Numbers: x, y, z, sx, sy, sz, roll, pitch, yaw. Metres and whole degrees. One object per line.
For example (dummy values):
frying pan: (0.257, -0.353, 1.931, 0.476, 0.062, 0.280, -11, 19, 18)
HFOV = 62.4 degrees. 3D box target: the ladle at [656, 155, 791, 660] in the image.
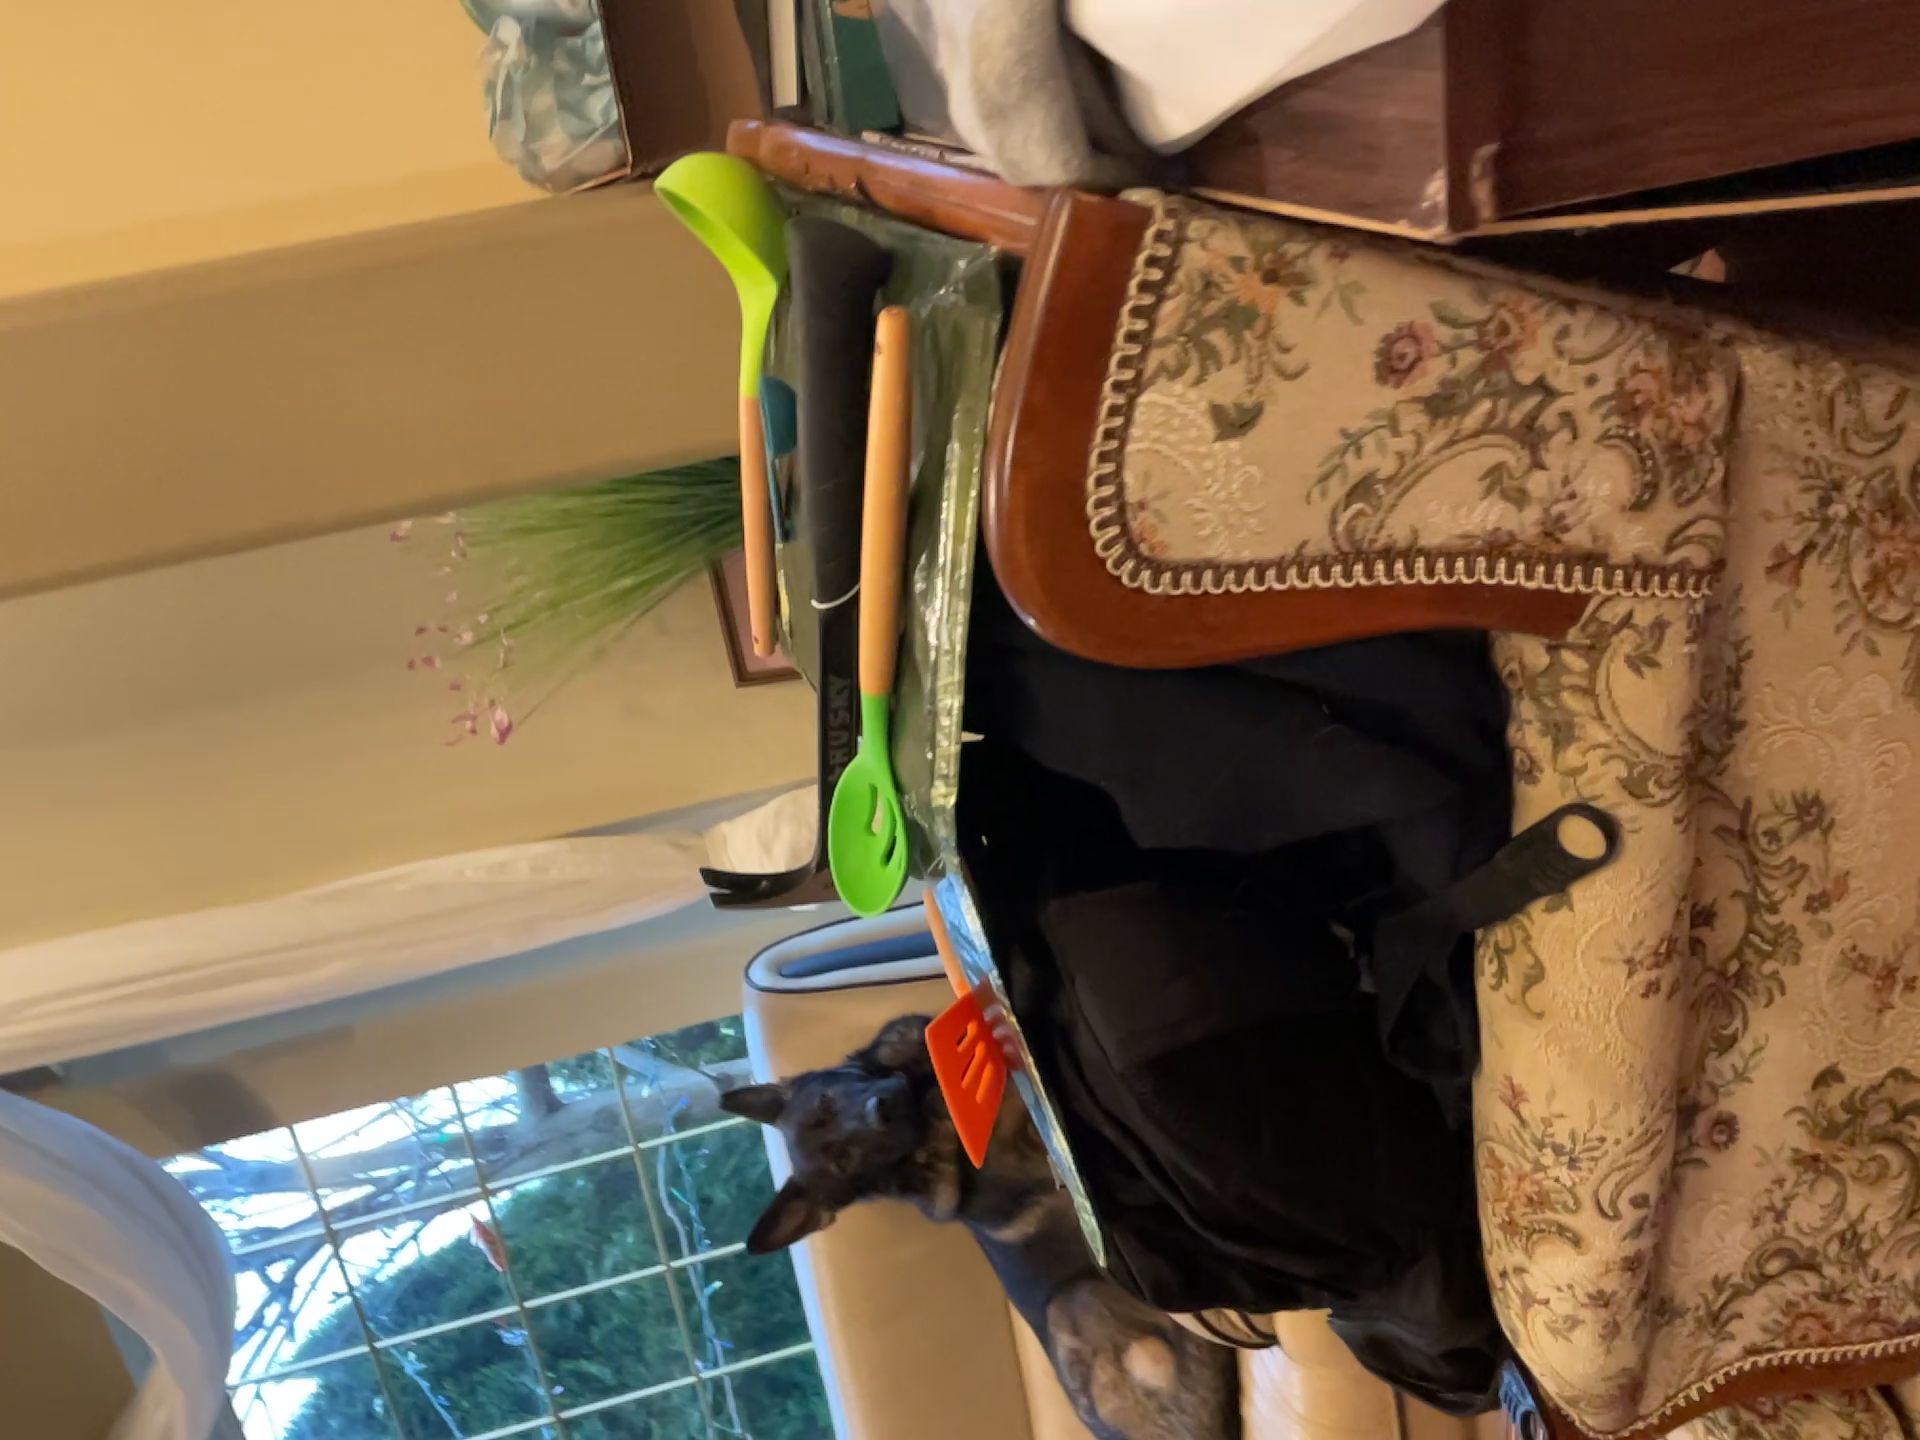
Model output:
ladle: (-0.122, -0.155, 0.879, 0.078, 0.062, 0.320, 40, 143, 33)

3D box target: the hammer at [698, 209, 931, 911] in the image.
hammer: (-0.064, -0.053, 0.783, 0.036, 0.149, 0.408, -123, 27, -43)

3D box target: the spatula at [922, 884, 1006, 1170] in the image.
spatula: (-0.008, 0.156, 0.952, 0.323, 0.041, 0.081, -123, 14, -76)

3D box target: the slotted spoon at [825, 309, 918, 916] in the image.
slotted spoon: (-0.035, -0.034, 0.708, 0.070, 0.031, 0.313, 49, 145, 41)

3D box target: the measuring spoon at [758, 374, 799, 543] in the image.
measuring spoon: (-0.090, -0.134, 0.836, 0.128, 0.021, 0.042, 96, 162, -62)
